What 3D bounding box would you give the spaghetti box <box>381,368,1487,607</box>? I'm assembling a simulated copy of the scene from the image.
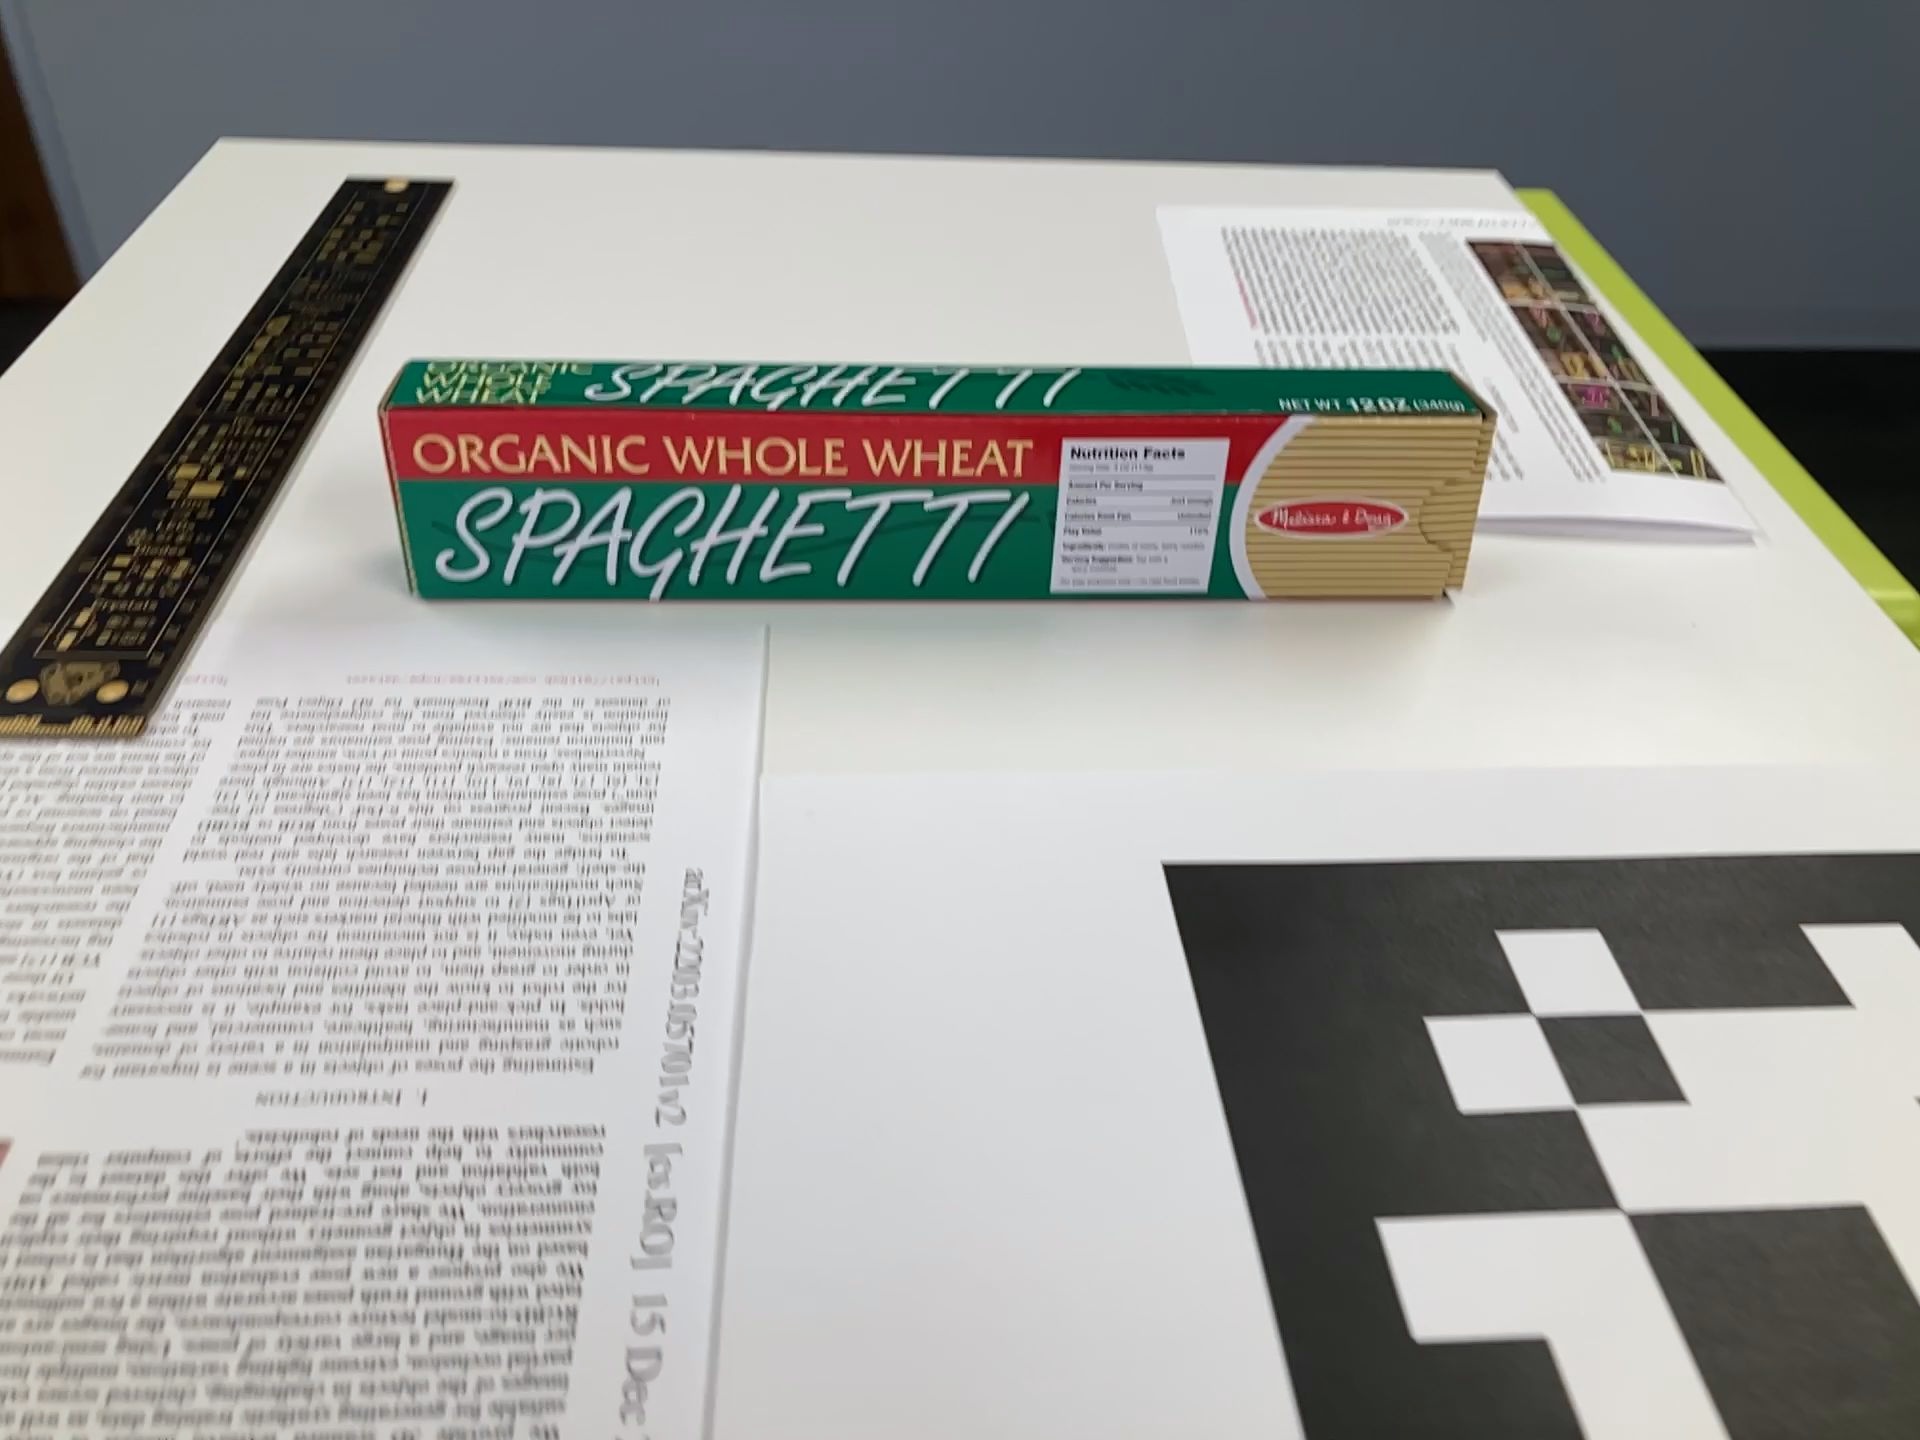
[{"bbox_3d":[-0.005,-0.055,0.377,0.250,0.050,0.028,-1,34,-4],"label":"spaghetti box"}]
